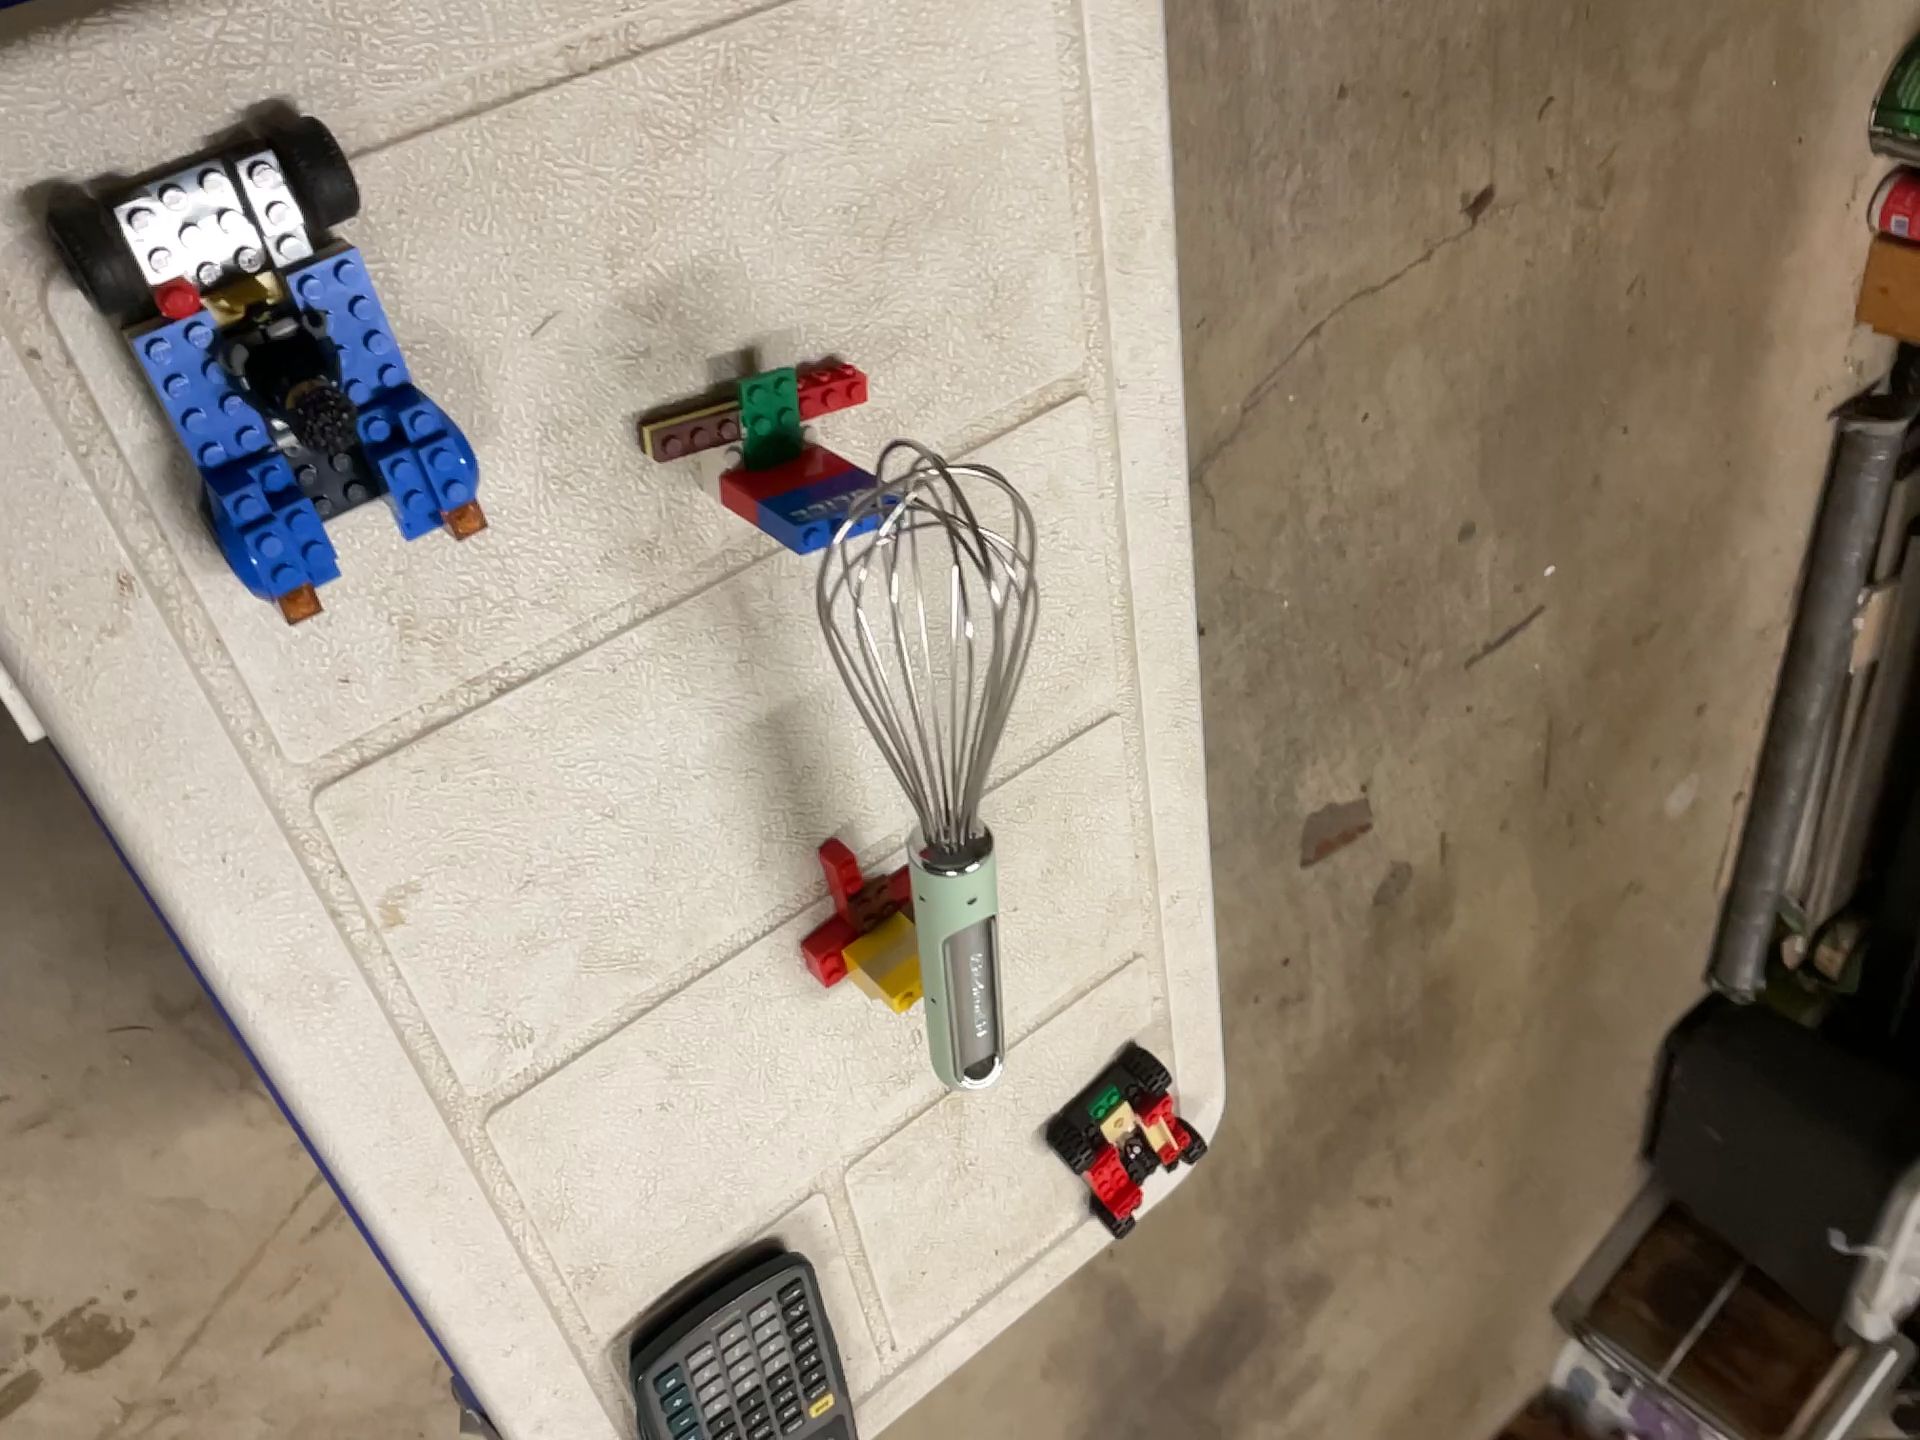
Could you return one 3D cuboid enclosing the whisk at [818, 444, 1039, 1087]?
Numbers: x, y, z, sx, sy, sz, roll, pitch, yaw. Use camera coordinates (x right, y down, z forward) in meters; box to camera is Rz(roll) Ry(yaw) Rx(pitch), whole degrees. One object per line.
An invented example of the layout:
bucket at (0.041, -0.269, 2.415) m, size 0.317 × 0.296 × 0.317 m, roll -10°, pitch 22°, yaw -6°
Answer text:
whisk at (-0.003, 0.029, 0.449) m, size 0.058 × 0.059 × 0.246 m, roll -25°, pitch 138°, yaw -20°
